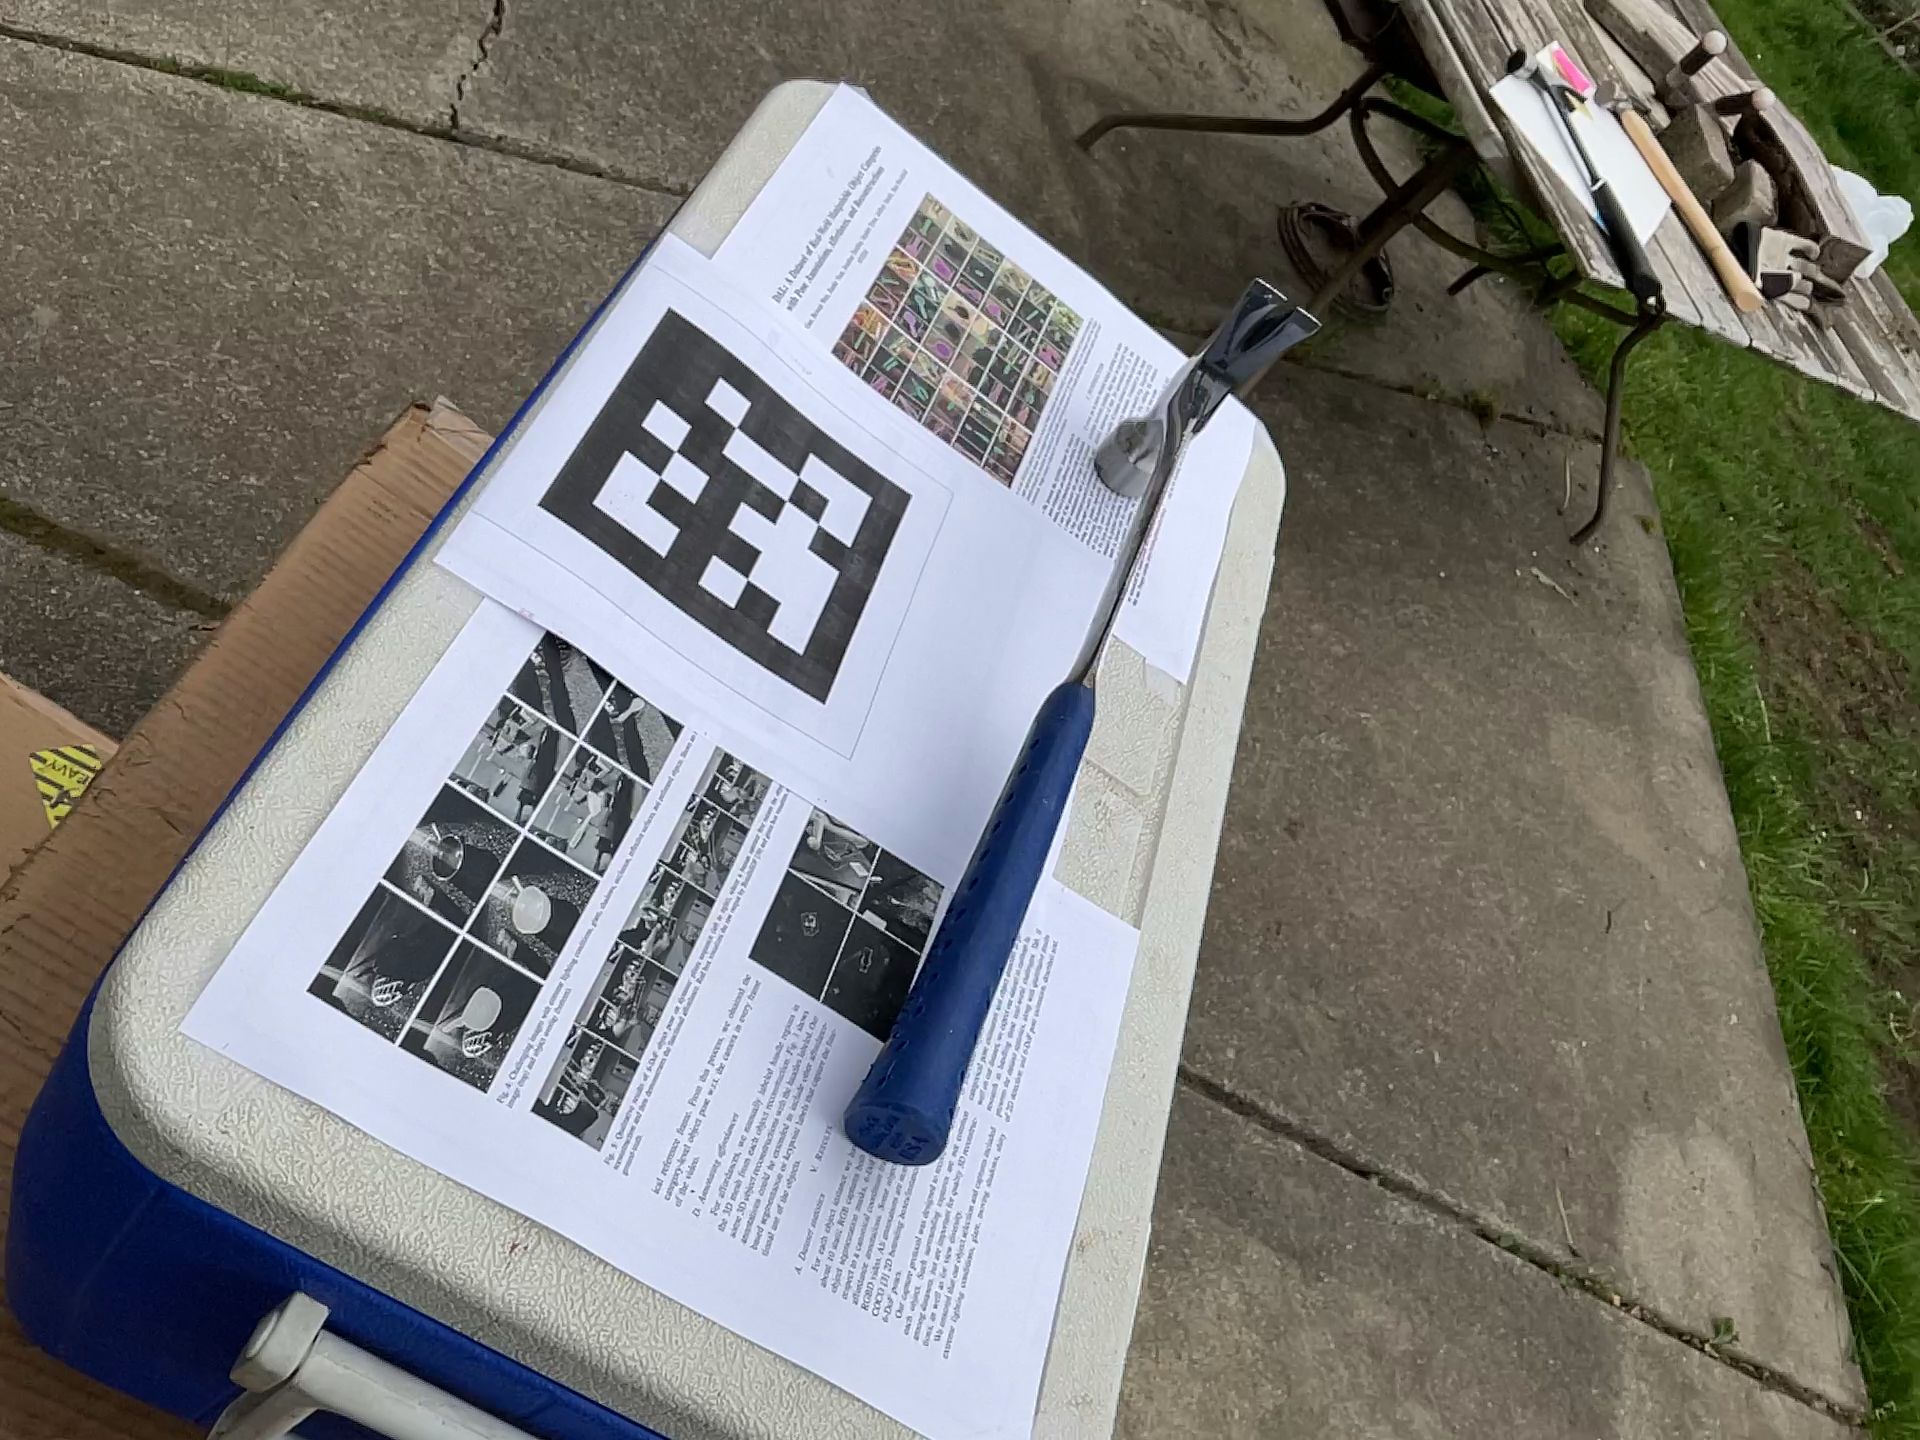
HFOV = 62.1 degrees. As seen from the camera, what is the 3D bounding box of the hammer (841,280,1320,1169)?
[{"bbox_3d":[0.048,-0.018,0.621,0.035,0.144,0.405,32,53,-10],"label":"hammer"}]
